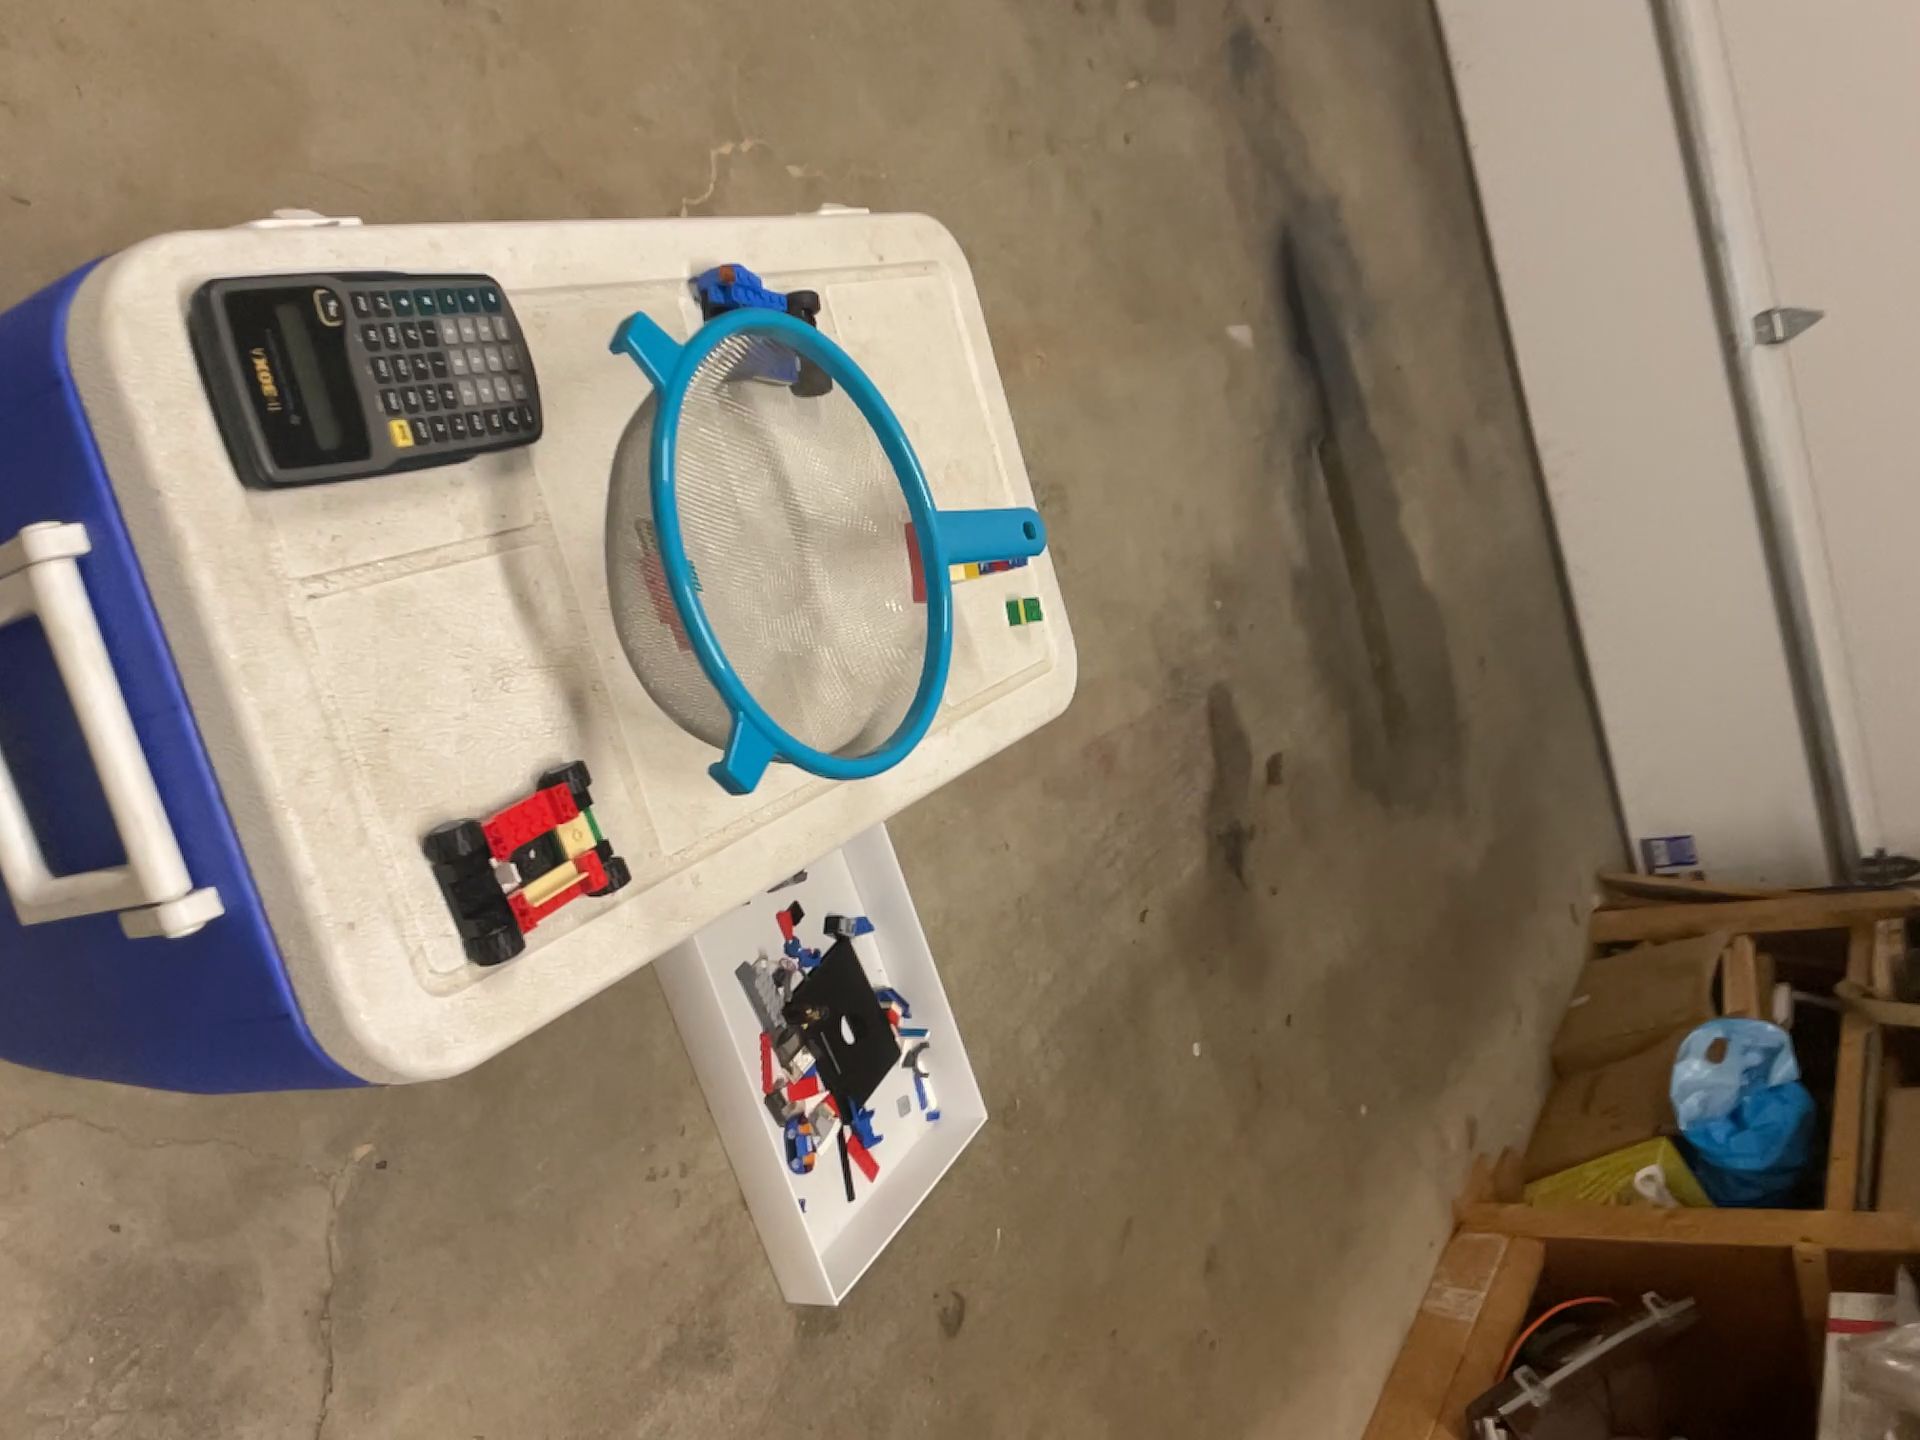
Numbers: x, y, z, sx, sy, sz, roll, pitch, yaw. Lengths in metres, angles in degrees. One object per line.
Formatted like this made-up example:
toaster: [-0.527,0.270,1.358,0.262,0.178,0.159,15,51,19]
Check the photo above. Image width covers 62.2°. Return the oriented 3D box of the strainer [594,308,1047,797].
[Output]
strainer: [-0.066,-0.078,0.776,0.340,0.095,0.211,-16,93,-61]
